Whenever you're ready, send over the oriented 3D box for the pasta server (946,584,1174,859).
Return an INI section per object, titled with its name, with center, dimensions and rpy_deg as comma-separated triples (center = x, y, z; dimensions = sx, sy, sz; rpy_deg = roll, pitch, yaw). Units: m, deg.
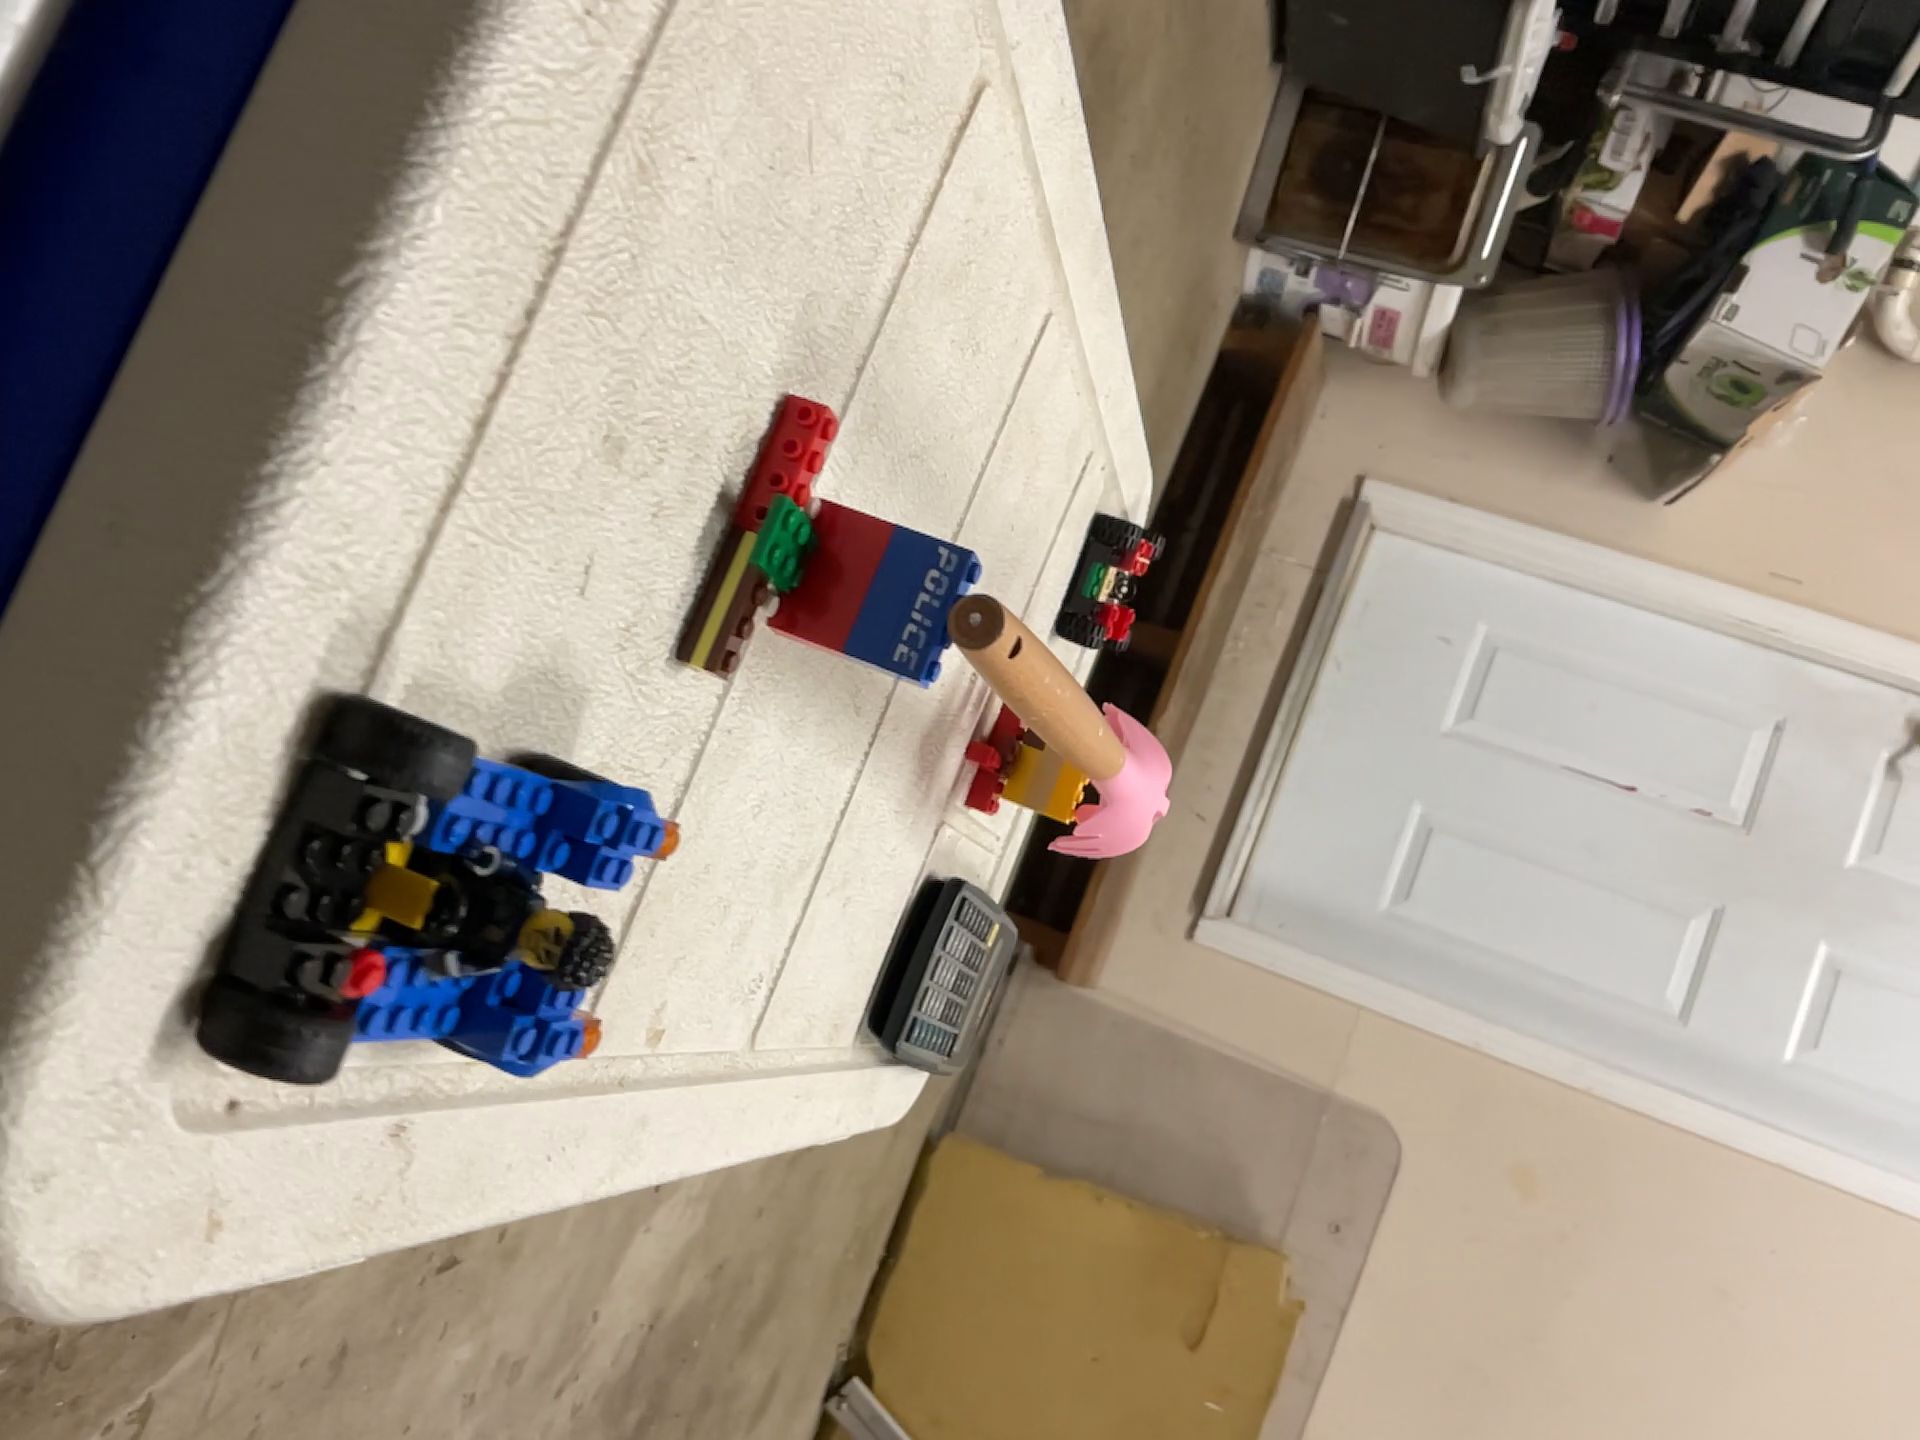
[pasta server]
center = 0.033, 0.005, 0.492
dimensions = 0.060, 0.040, 0.316
rpy_deg = -67, 163, -5
